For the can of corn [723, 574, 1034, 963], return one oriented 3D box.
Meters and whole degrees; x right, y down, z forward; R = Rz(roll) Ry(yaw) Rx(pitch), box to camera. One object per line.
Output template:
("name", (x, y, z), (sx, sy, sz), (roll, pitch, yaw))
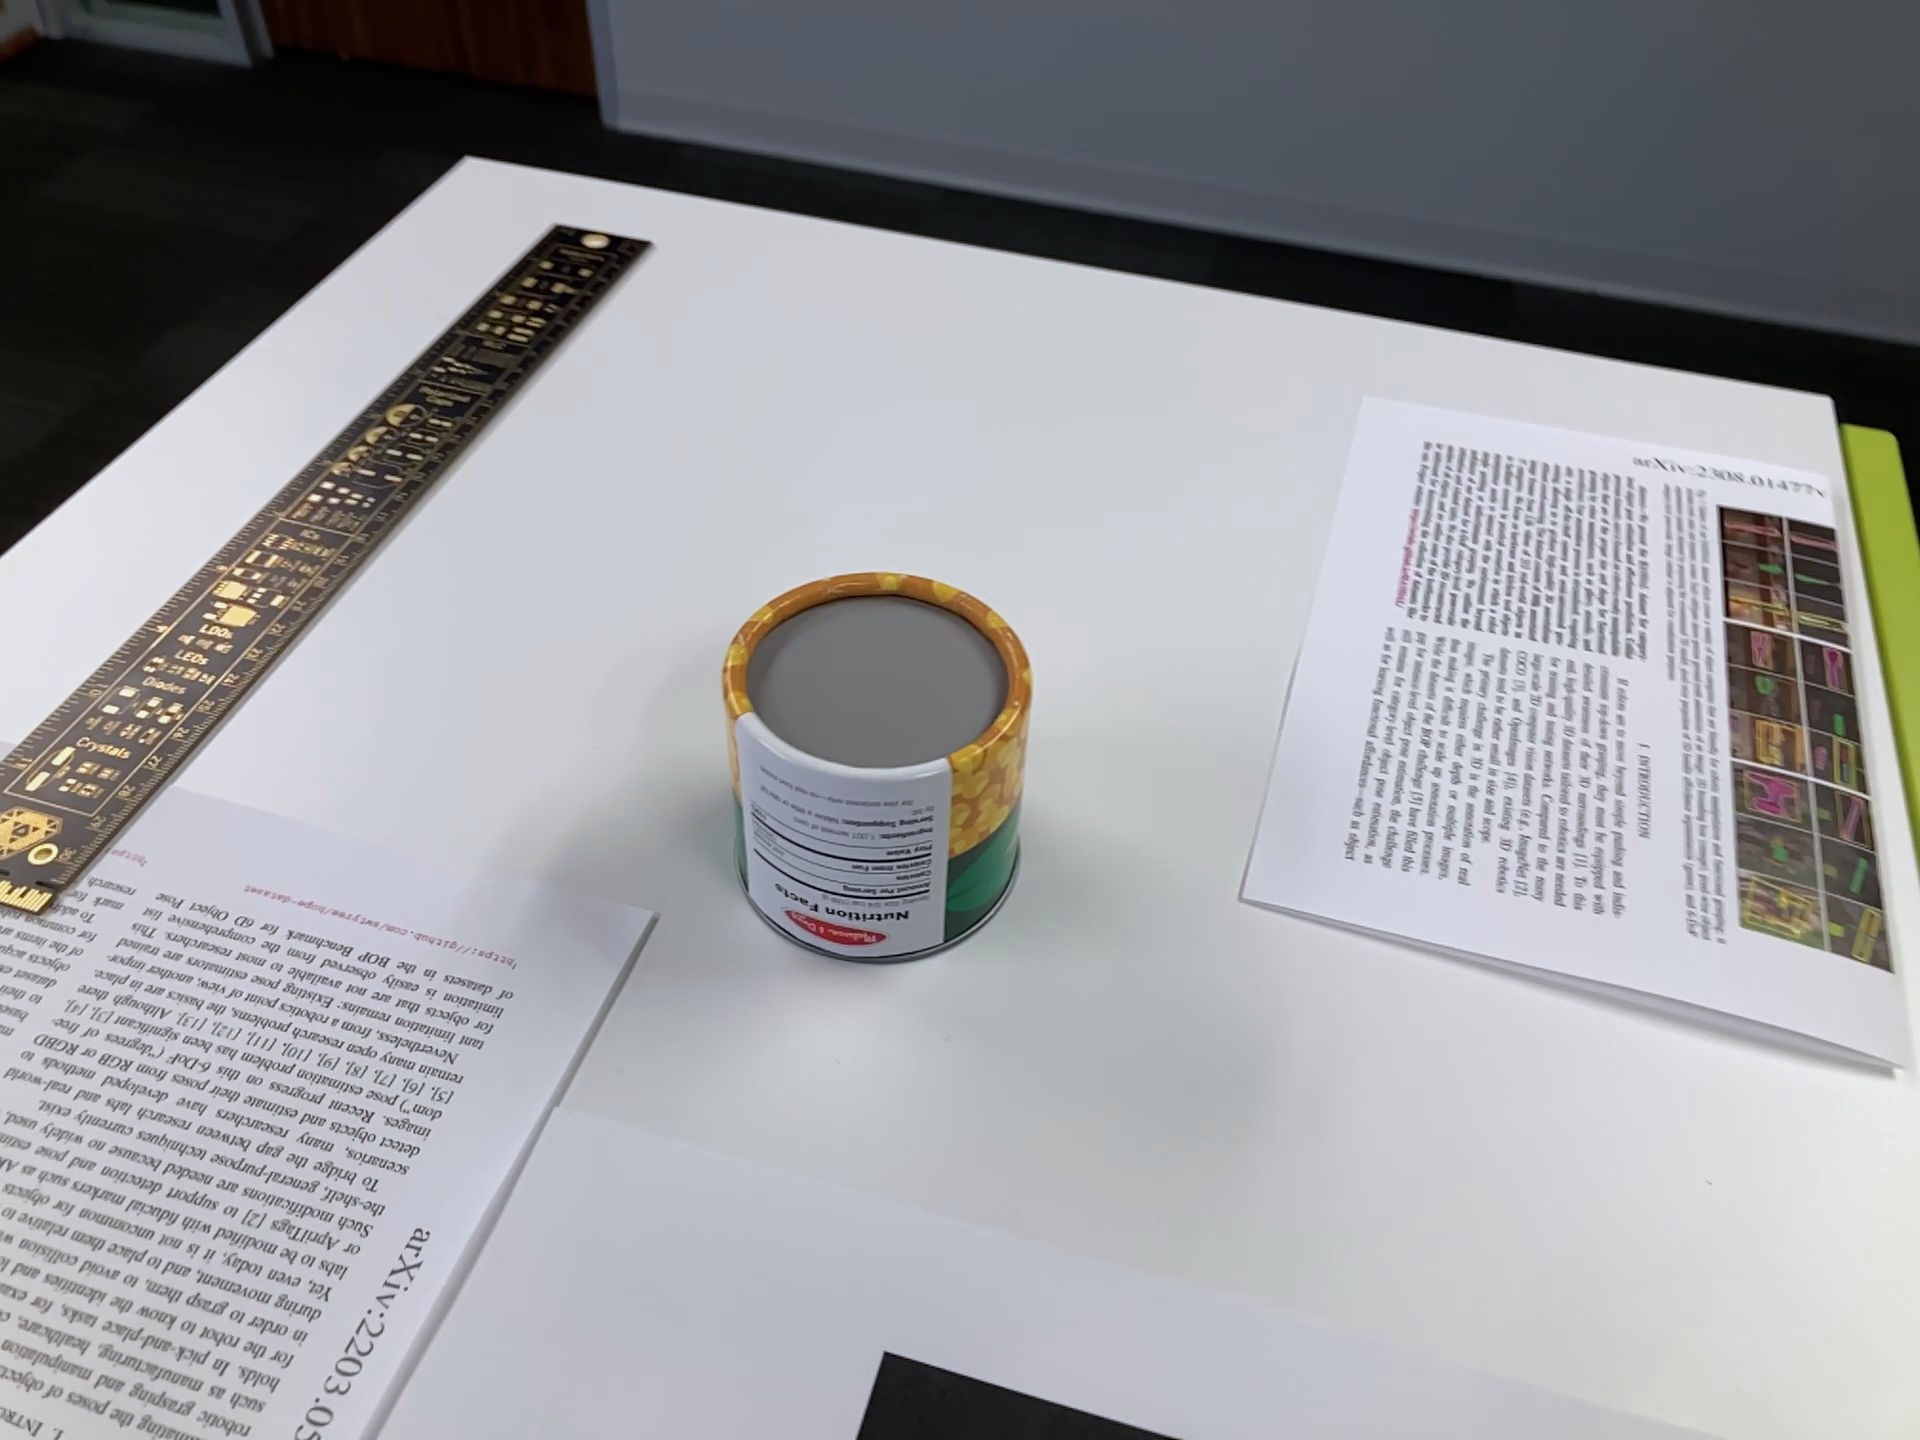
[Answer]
("can of corn", (-0.017, 0.008, 0.354), (0.071, 0.058, 0.071), (1, 44, -1))
